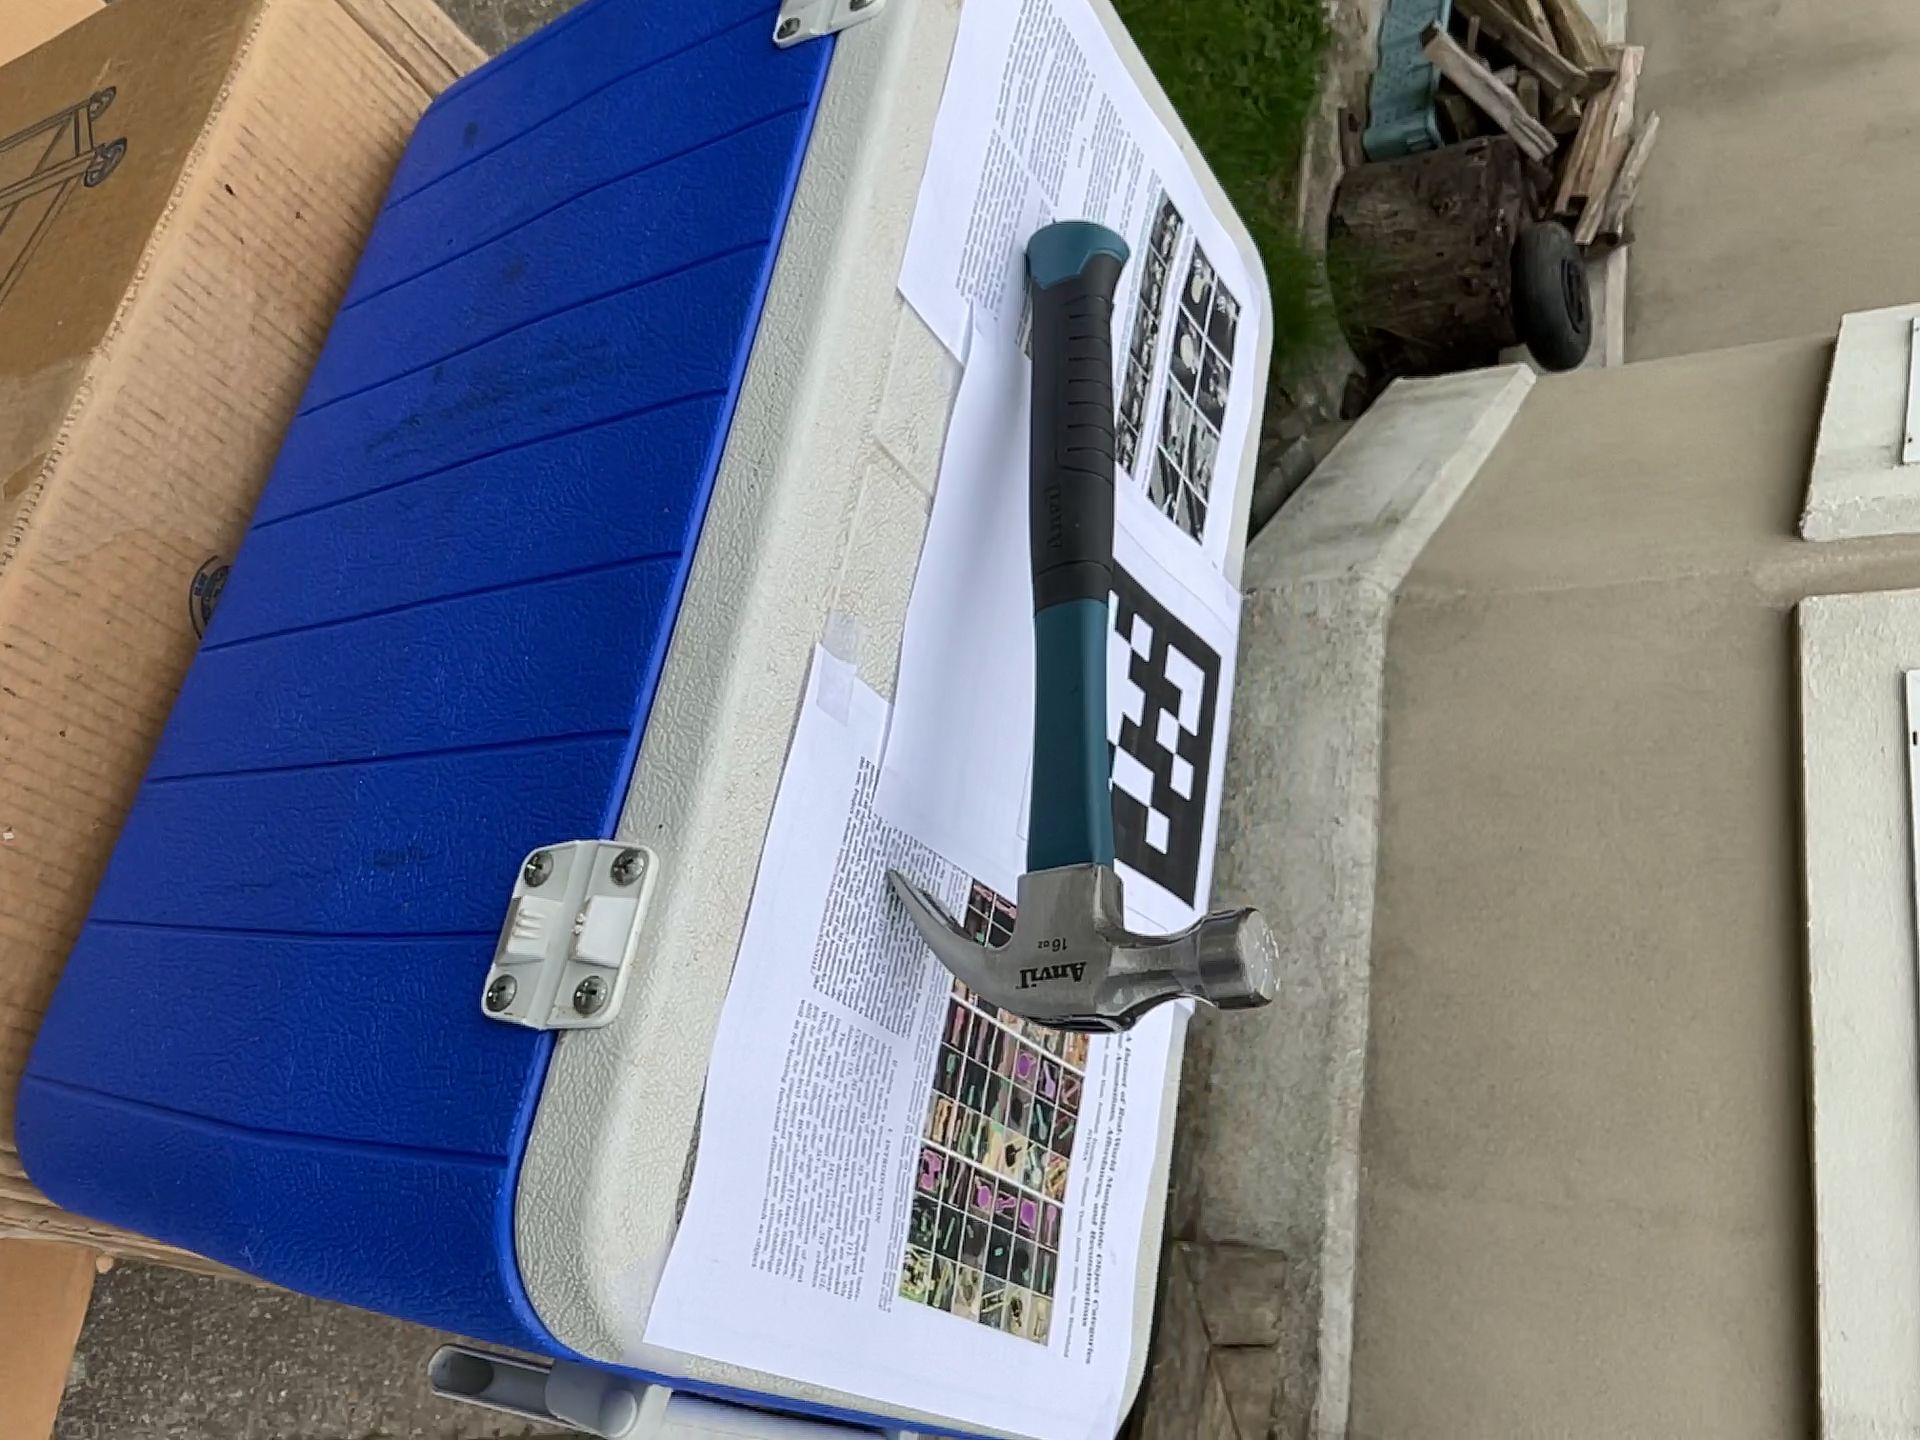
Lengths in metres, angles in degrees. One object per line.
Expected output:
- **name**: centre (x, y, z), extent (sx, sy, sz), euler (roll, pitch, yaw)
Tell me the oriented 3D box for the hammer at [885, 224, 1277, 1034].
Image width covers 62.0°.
- **hammer**: centre (0.041, -0.050, 0.578), extent (0.033, 0.128, 0.331), euler (39, 45, -49)
